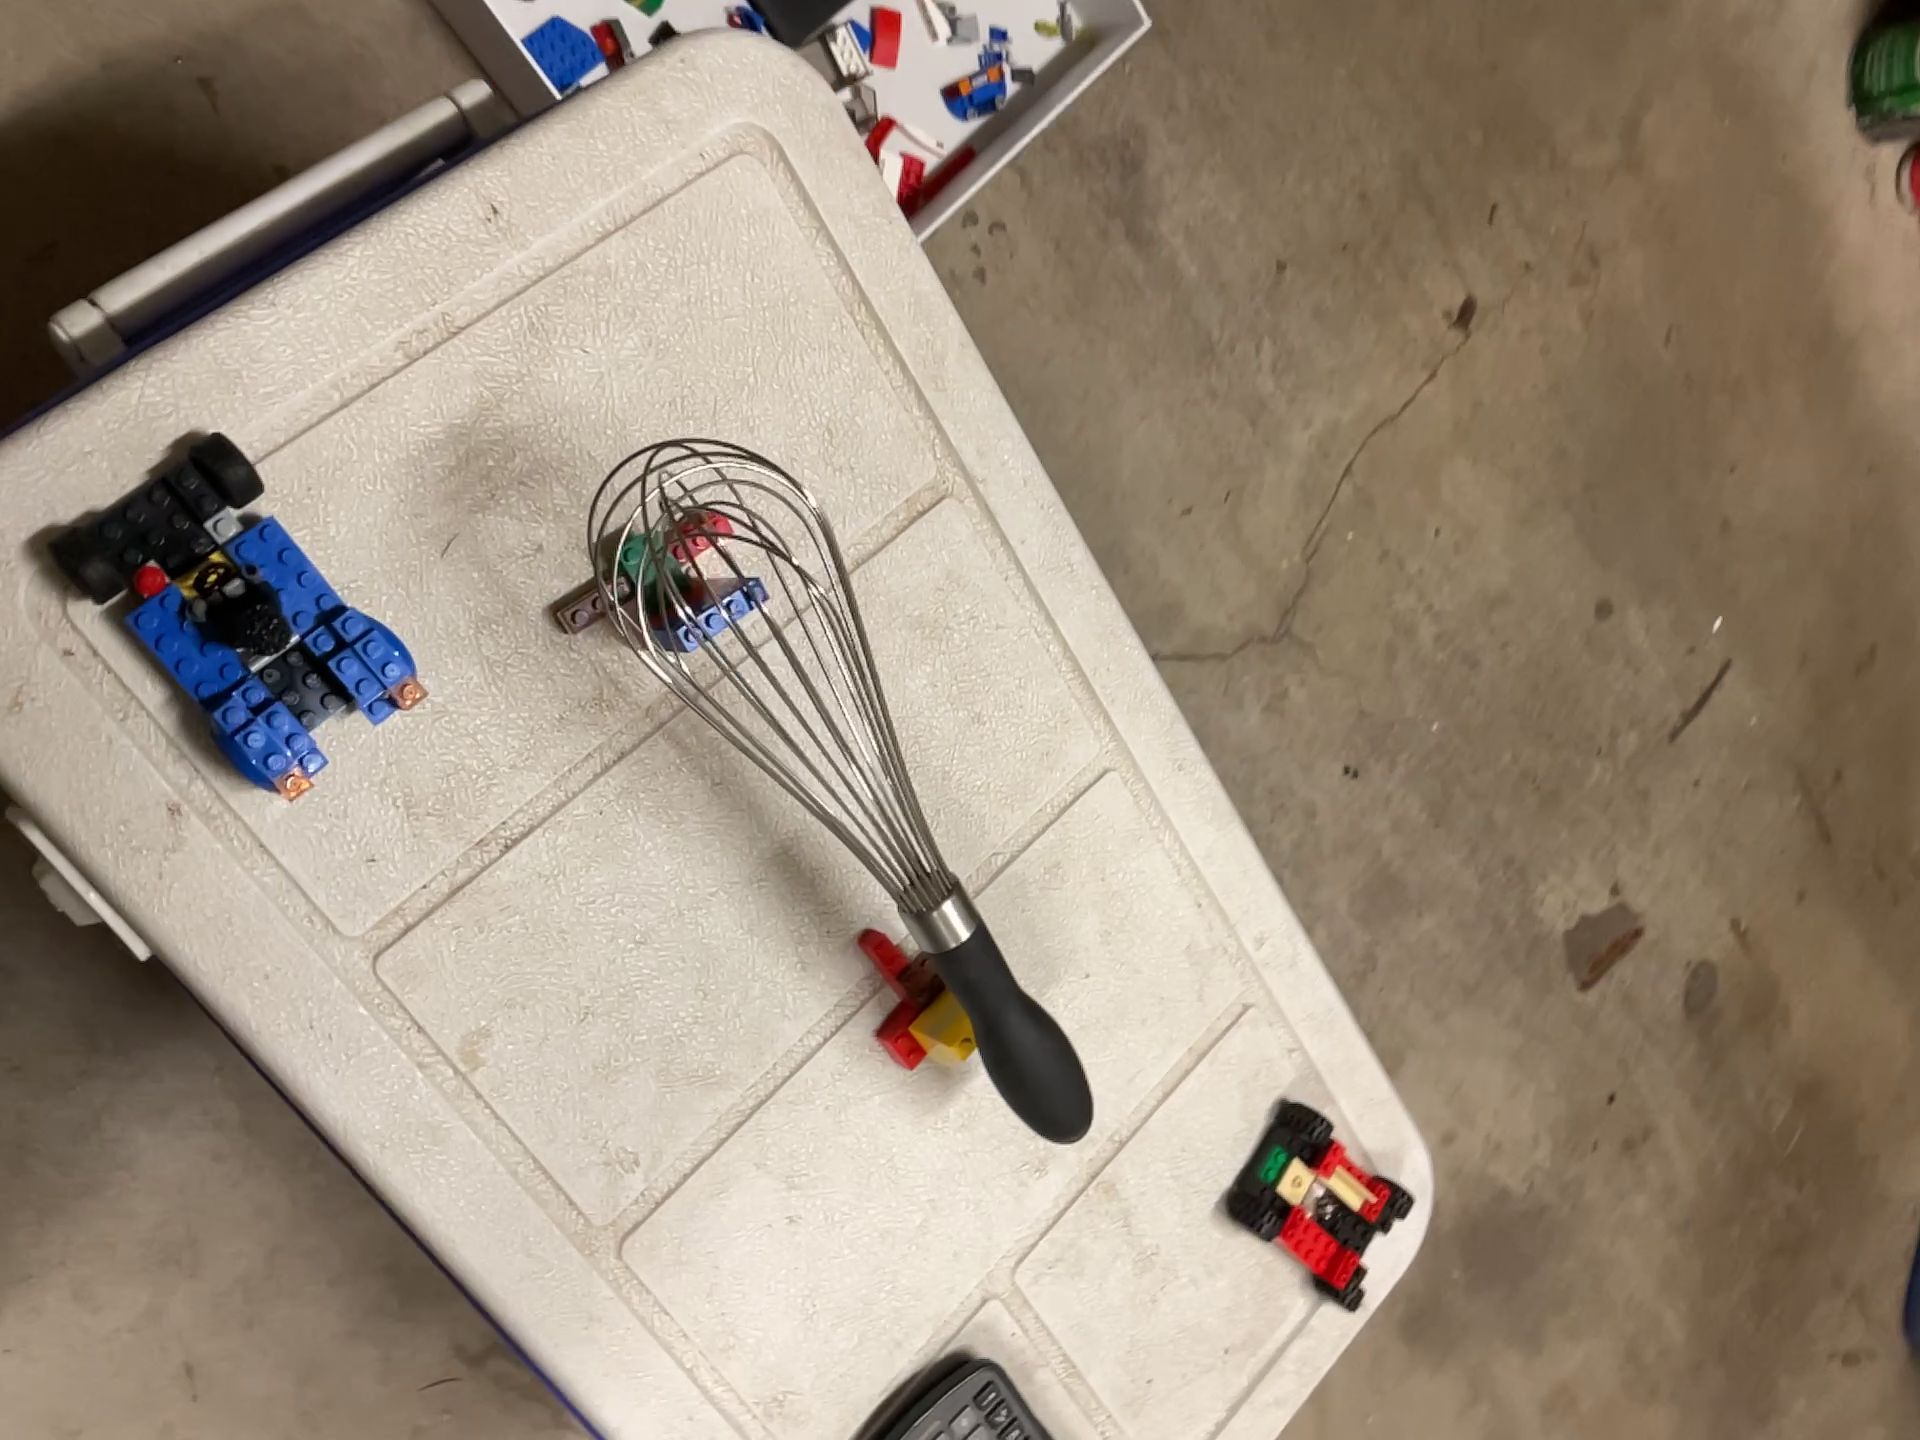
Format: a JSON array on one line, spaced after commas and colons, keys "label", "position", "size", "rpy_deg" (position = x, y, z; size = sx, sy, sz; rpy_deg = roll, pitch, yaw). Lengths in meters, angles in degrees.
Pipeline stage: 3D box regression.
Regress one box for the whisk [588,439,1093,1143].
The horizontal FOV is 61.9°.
[{"label": "whisk", "position": [-0.021, 0.036, 0.495], "size": [0.070, 0.070, 0.284], "rpy_deg": [-46, 122, -27]}]
